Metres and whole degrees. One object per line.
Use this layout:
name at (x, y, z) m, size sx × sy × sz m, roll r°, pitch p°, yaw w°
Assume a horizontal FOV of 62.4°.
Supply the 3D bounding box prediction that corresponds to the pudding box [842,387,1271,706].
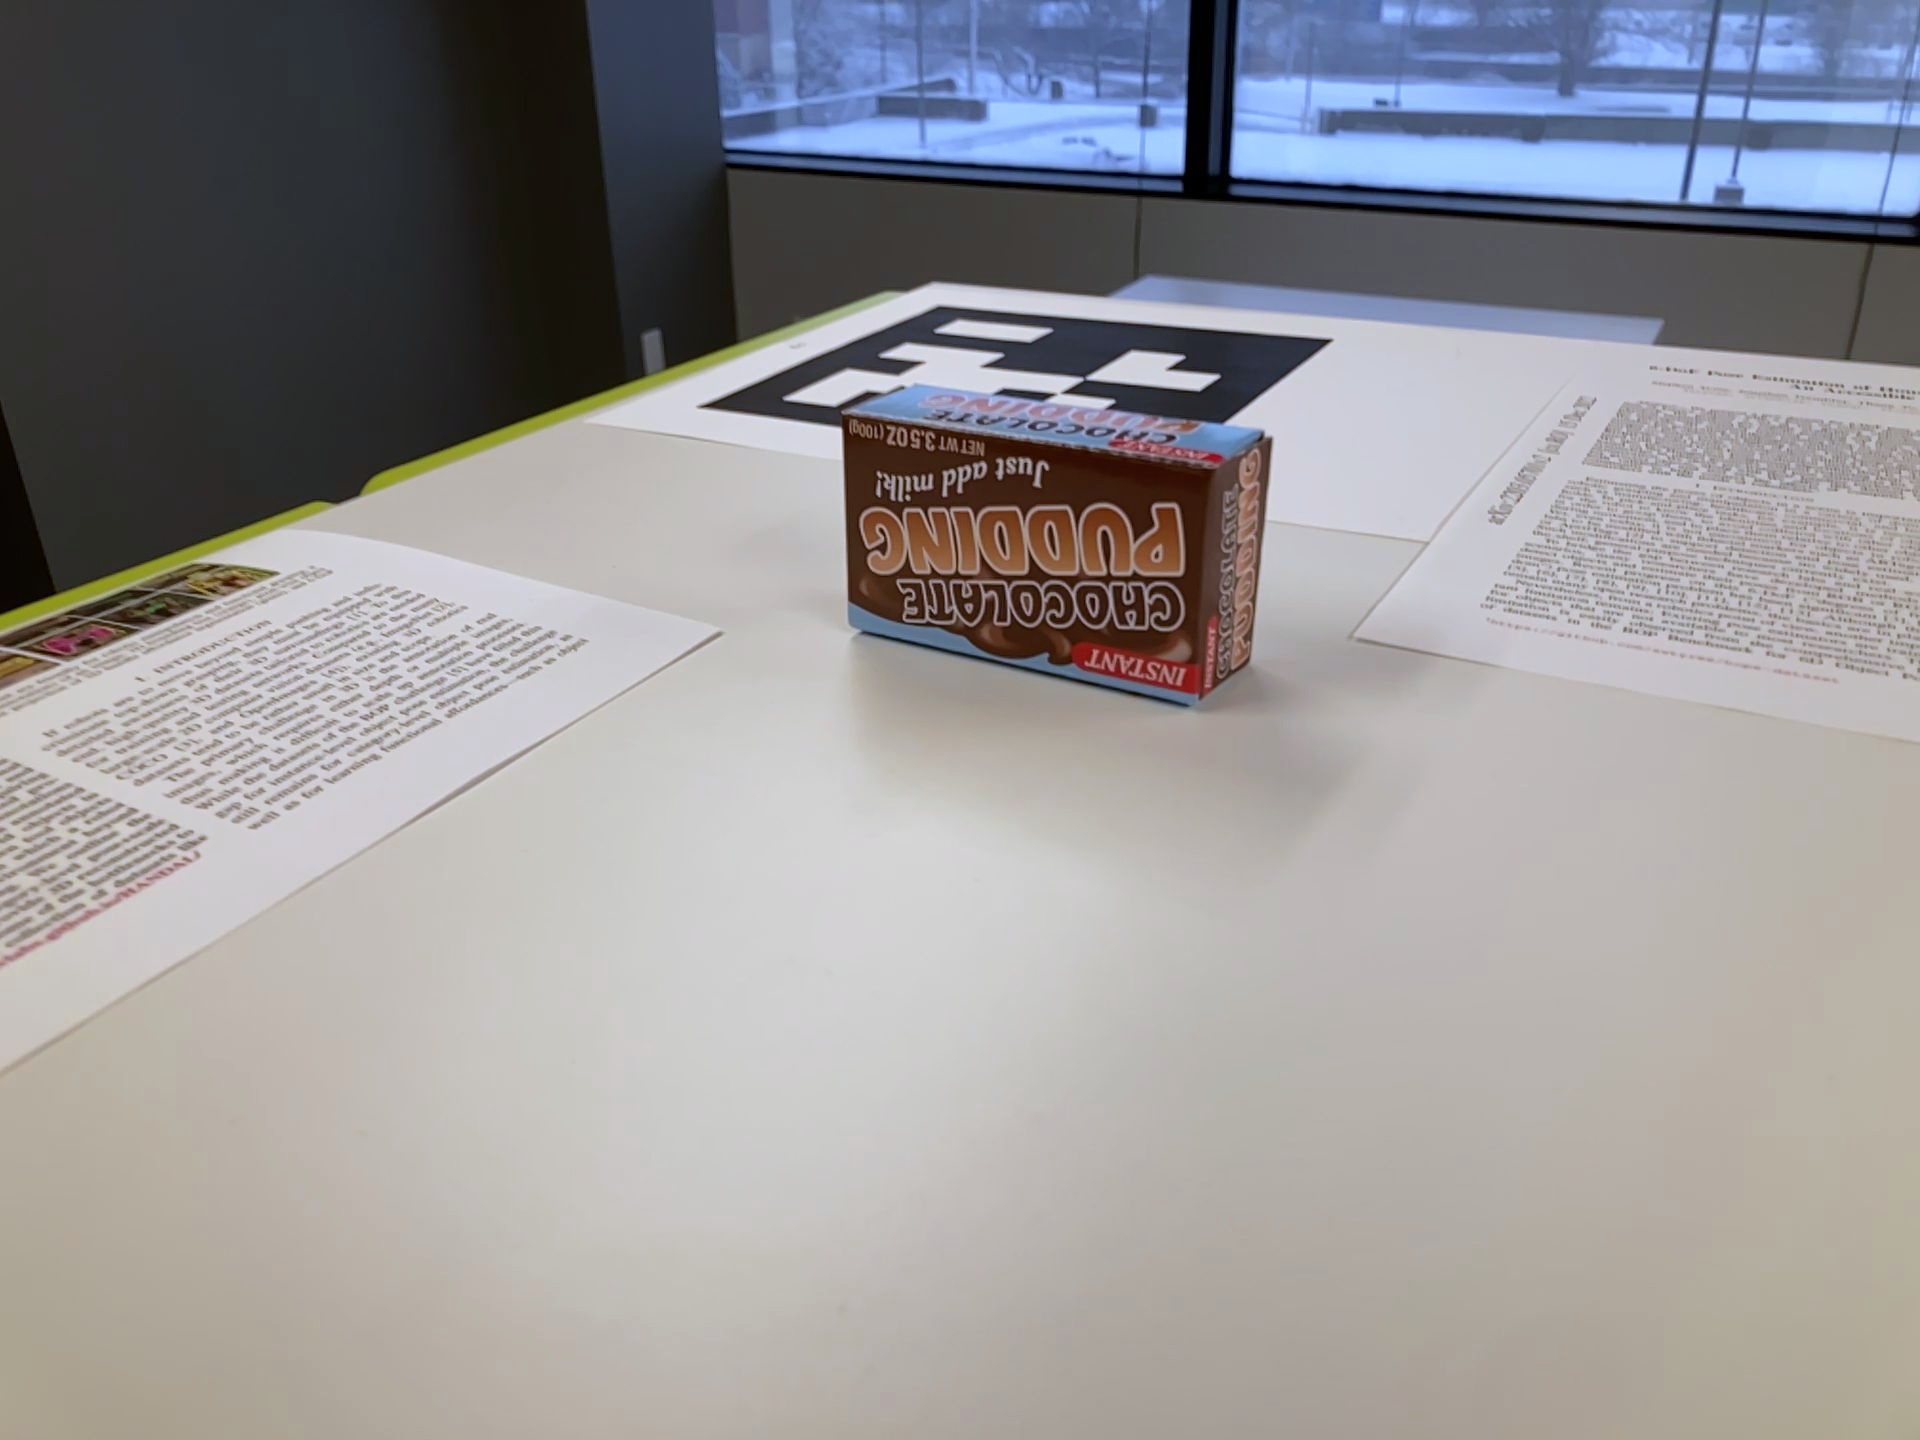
pudding box at (0.018, -0.037, 0.324) m, size 0.083 × 0.049 × 0.030 m, roll 14°, pitch 28°, yaw 28°
